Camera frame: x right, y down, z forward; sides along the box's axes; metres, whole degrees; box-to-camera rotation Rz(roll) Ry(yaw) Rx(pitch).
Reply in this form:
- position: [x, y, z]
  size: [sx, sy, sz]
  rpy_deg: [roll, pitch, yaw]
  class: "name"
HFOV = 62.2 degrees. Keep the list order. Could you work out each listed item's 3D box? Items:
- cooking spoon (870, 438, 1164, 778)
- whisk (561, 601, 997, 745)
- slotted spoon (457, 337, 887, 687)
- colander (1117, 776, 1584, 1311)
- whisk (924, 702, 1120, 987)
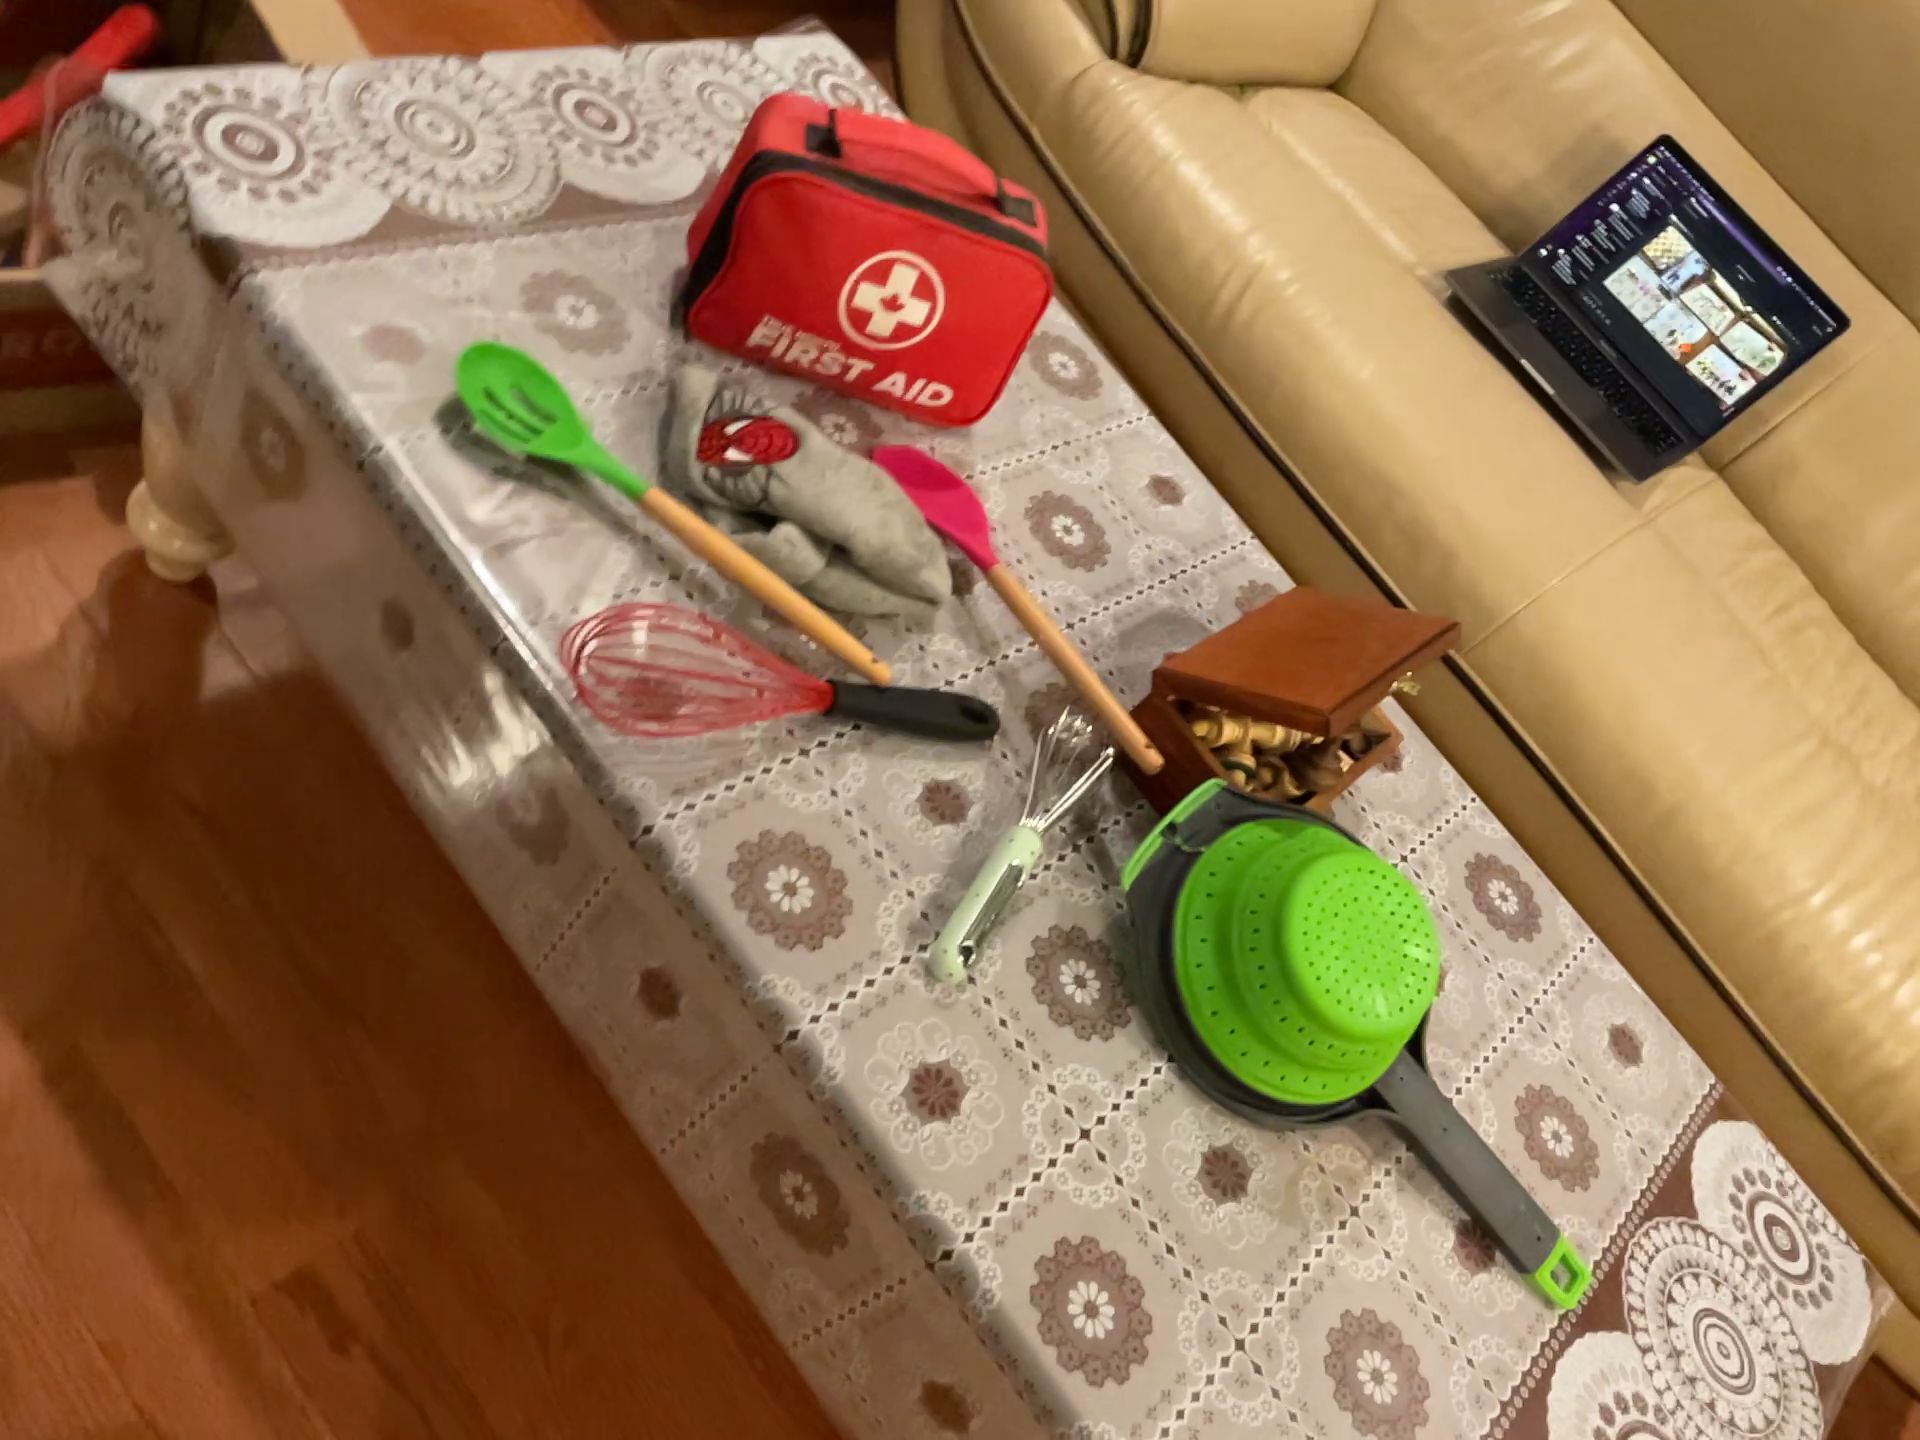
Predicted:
- position: [0.035, -0.082, 1.053]
  size: [0.068, 0.017, 0.319]
  rpy_deg: [-13, 55, -39]
  class: "cooking spoon"
- position: [-0.094, -0.017, 0.926]
  size: [0.295, 0.073, 0.073]
  rpy_deg: [10, 46, -38]
  class: "whisk"
- position: [-0.171, -0.119, 0.951]
  size: [0.314, 0.031, 0.070]
  rpy_deg: [38, 44, -2]
  class: "slotted spoon"
- position: [0.267, 0.201, 0.956]
  size: [0.204, 0.094, 0.397]
  rpy_deg: [-42, 93, -27]
  class: "colander"
- position: [0.038, 0.072, 0.965]
  size: [0.058, 0.059, 0.246]
  rpy_deg: [8, 40, 25]
  class: "whisk"
